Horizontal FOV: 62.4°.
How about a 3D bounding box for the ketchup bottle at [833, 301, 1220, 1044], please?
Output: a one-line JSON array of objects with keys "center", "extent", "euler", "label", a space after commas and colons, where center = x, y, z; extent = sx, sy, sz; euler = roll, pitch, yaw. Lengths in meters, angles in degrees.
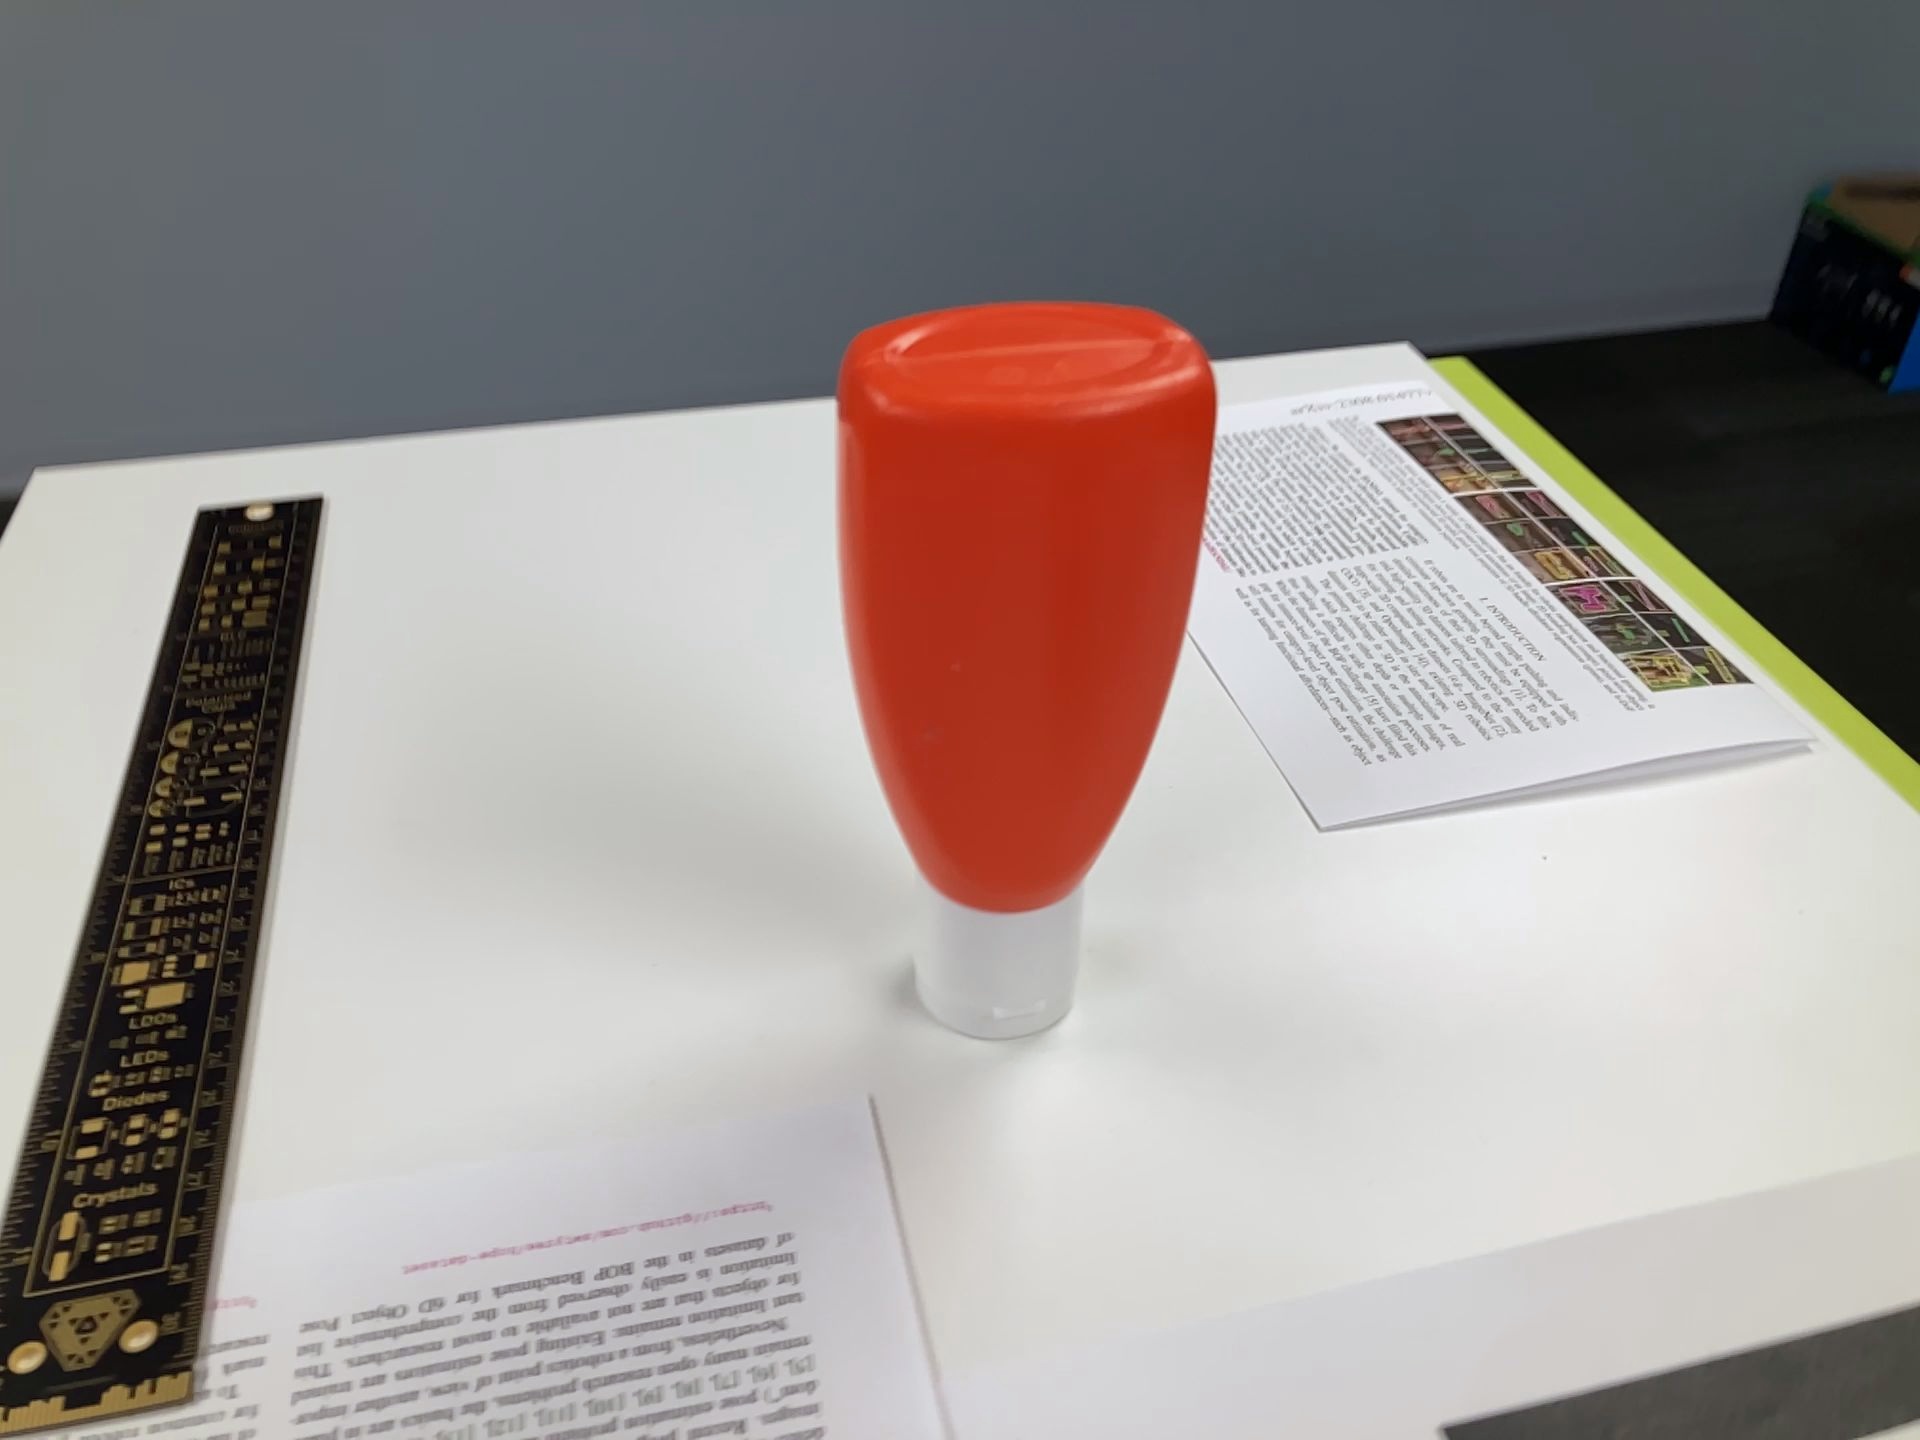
[{"center": [0.010, -0.001, 0.301], "extent": [0.065, 0.149, 0.043], "euler": [-7, 37, -11], "label": "ketchup bottle"}]
